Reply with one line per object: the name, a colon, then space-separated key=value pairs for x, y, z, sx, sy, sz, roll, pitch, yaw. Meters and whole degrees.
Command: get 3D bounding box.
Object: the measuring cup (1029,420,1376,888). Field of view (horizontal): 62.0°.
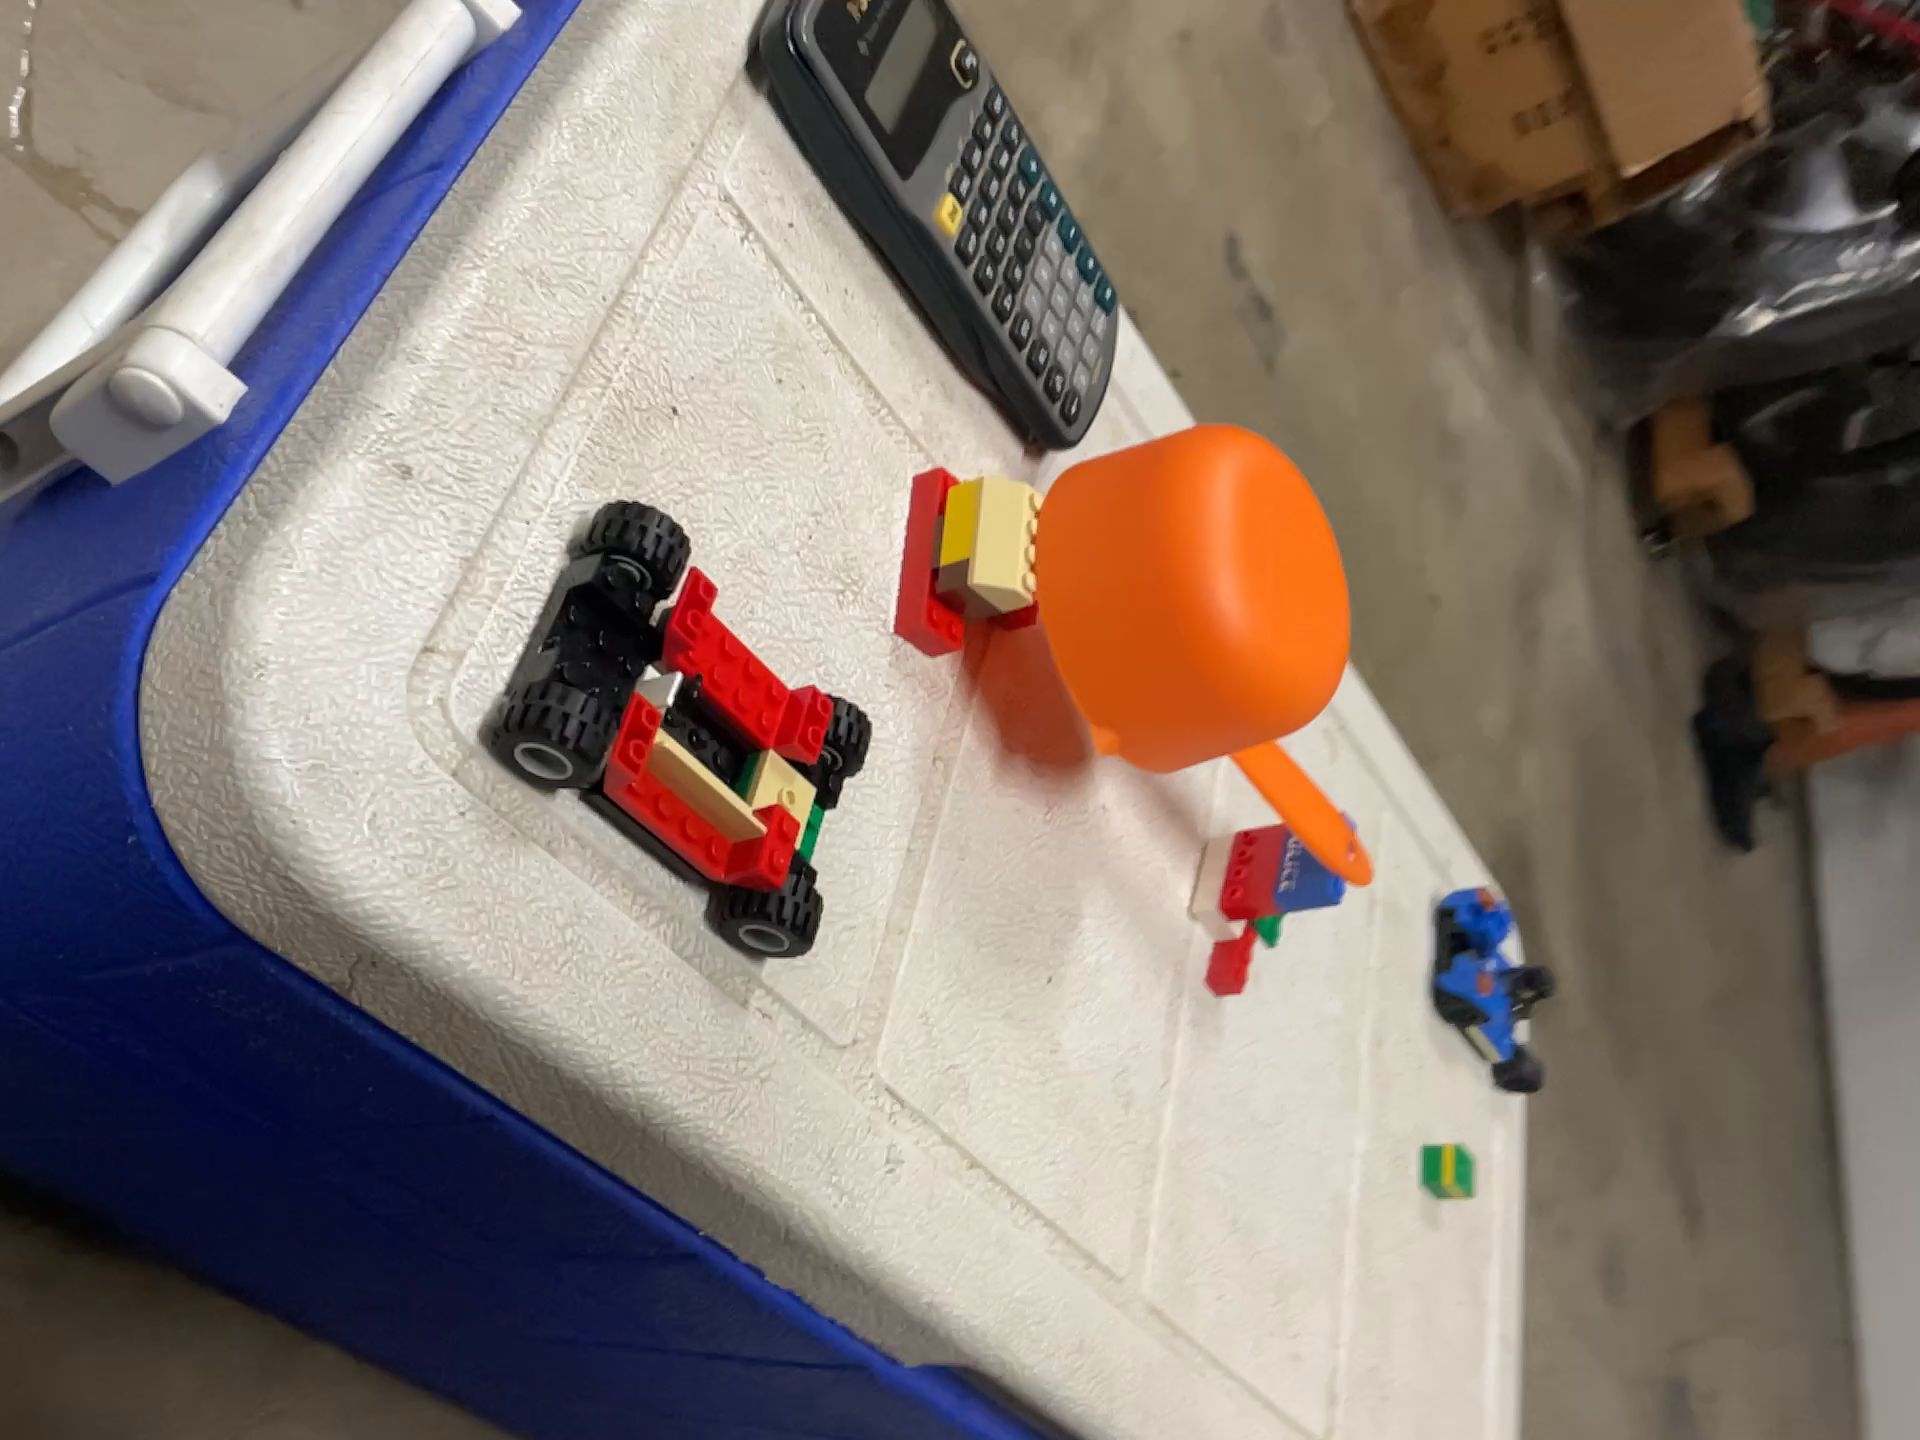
measuring cup: x=0.090 y=-0.008 z=0.436 sx=0.173 sy=0.052 sz=0.095 roll=44 pitch=46 yaw=-30
